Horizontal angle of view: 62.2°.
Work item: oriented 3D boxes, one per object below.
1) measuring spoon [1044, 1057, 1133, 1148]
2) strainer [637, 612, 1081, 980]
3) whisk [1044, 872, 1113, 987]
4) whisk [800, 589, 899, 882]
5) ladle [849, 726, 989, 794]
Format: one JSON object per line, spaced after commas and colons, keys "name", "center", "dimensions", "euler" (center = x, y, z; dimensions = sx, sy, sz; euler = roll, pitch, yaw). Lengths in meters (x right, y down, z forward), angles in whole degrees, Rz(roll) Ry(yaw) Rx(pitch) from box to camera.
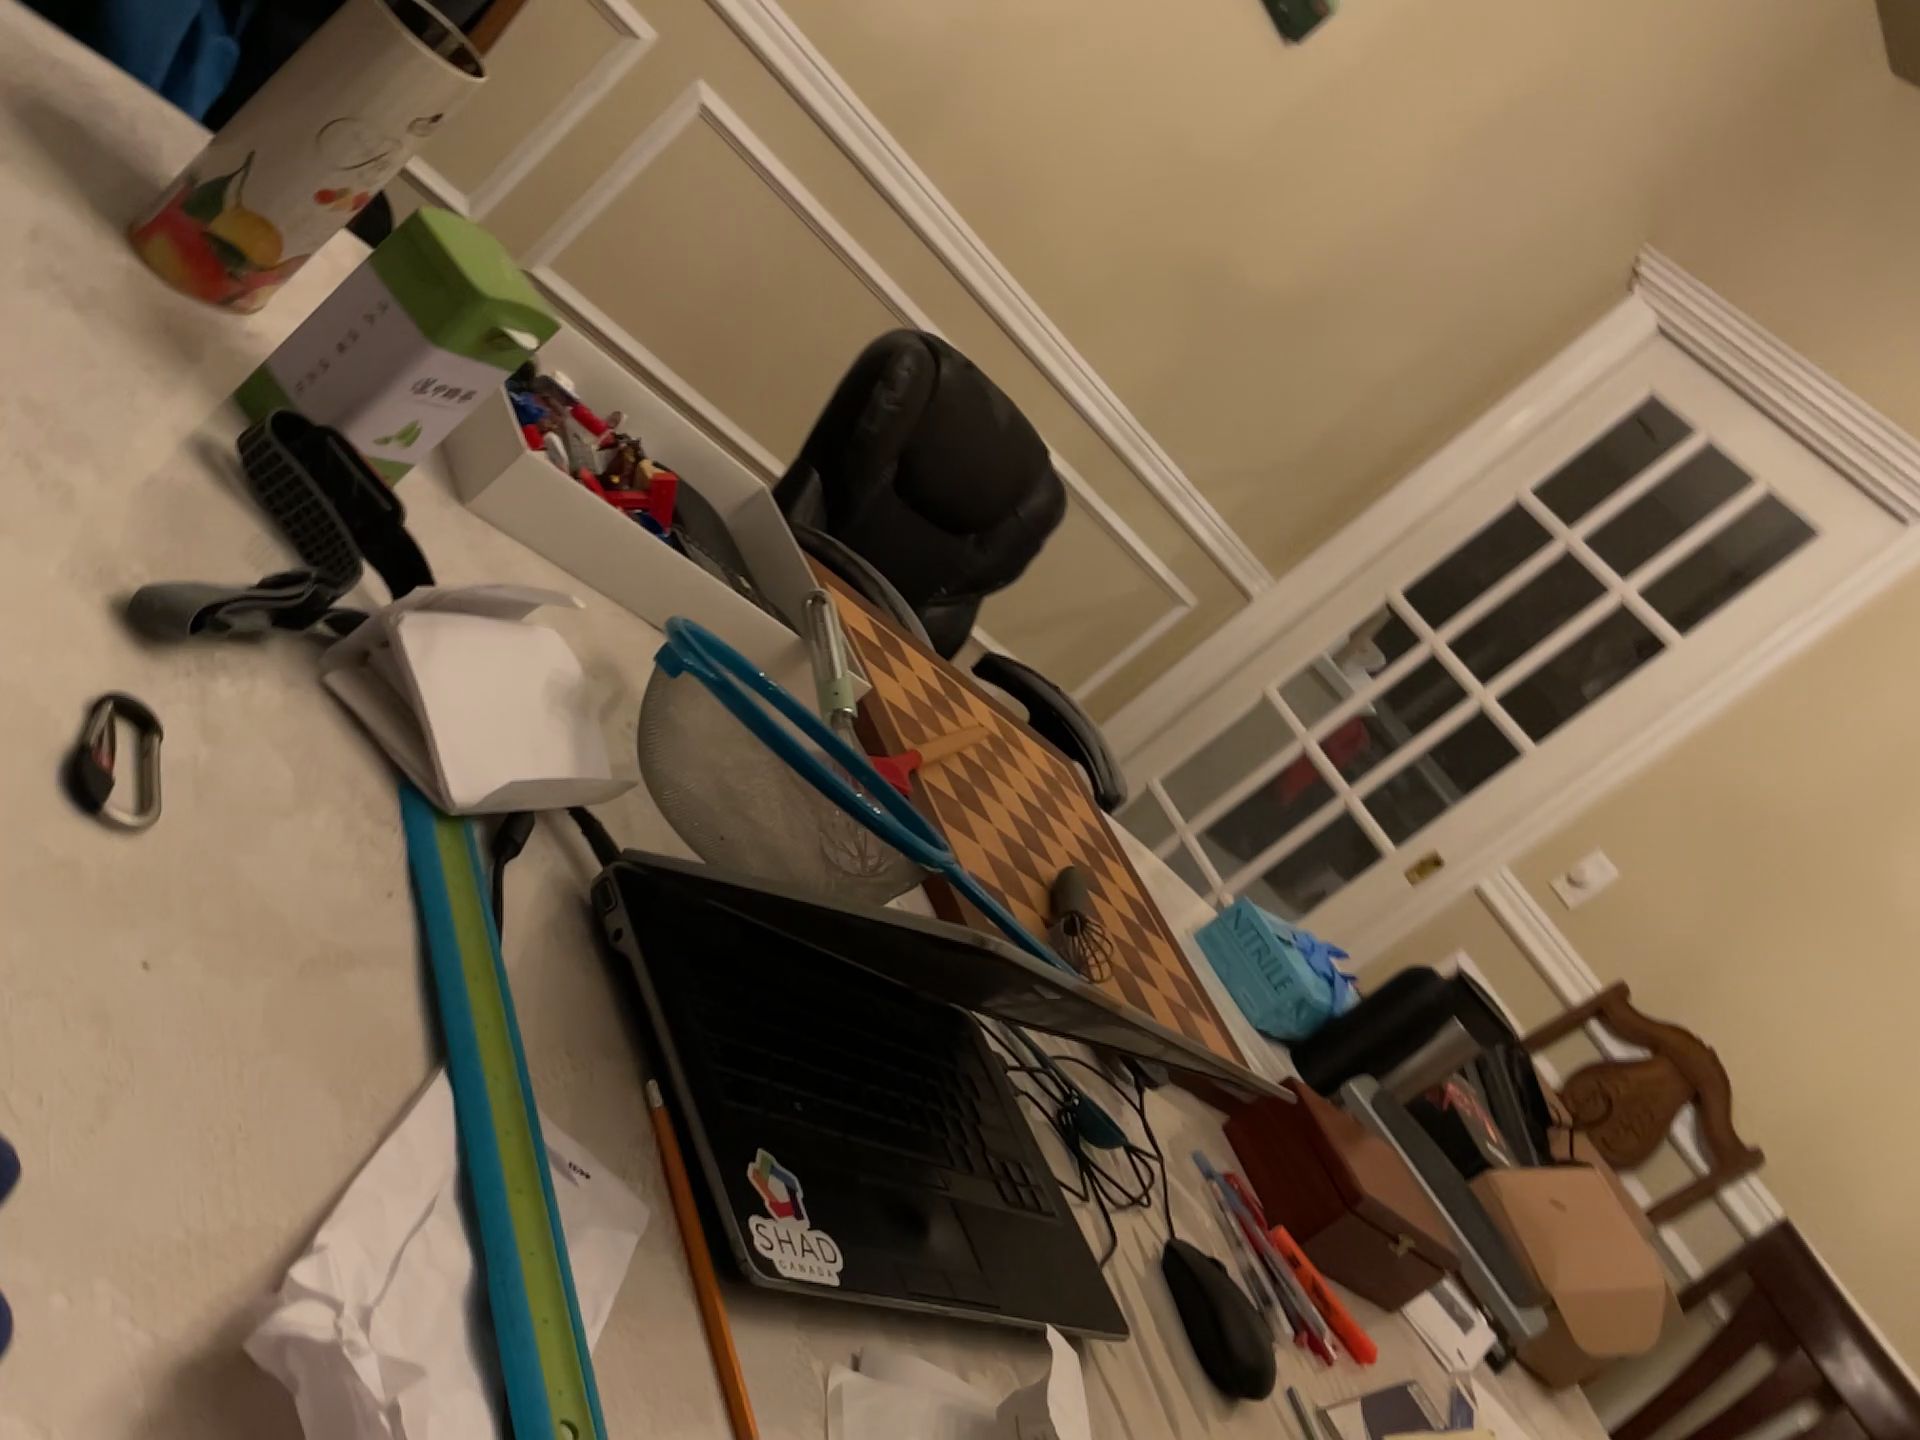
{"name": "measuring spoon", "center": [0.063, 0.243, 1.071], "dimensions": [0.129, 0.021, 0.042], "euler": [42, 2, 19]}
{"name": "strainer", "center": [-0.061, 0.086, 0.890], "dimensions": [0.340, 0.095, 0.211], "euler": [43, 1, -9]}
{"name": "whisk", "center": [0.089, 0.164, 1.261], "dimensions": [0.055, 0.055, 0.239], "euler": [62, 7, -9]}
{"name": "whisk", "center": [-0.081, 0.007, 1.084], "dimensions": [0.059, 0.057, 0.247], "euler": [84, -7, -56]}
{"name": "ladle", "center": [-0.028, 0.025, 1.277], "dimensions": [0.069, 0.031, 0.315], "euler": [30, 14, 13]}
